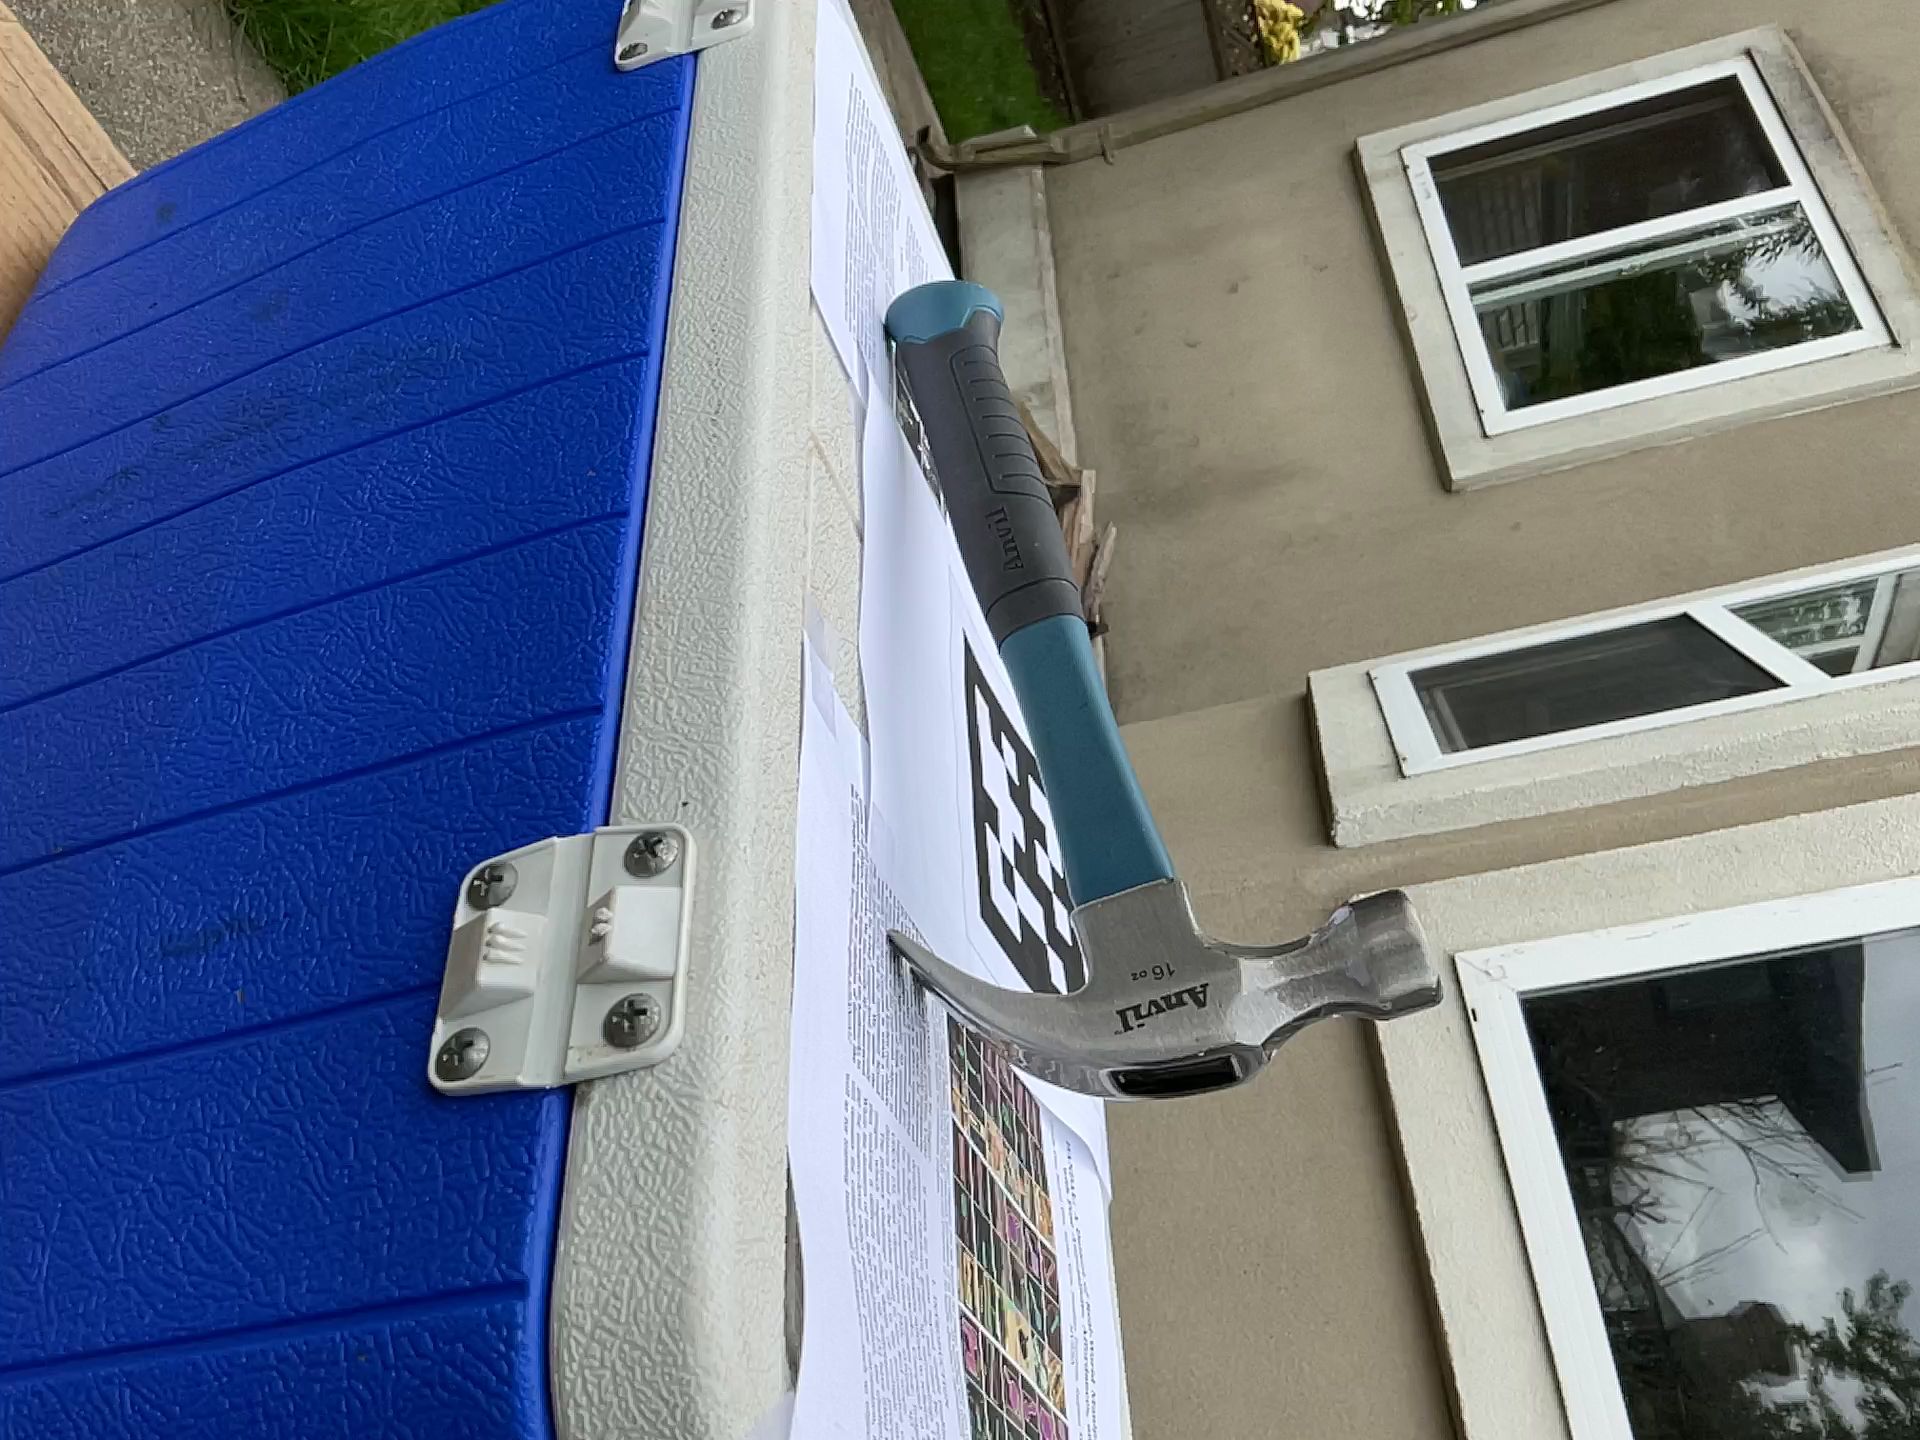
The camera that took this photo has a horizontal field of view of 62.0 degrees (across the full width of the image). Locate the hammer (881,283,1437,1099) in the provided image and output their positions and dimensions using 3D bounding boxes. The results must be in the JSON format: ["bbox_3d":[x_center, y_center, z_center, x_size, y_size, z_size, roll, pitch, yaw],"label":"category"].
[{"bbox_3d":[0.023,-0.034,0.496,0.033,0.128,0.331,64,8,-49],"label":"hammer"}]
